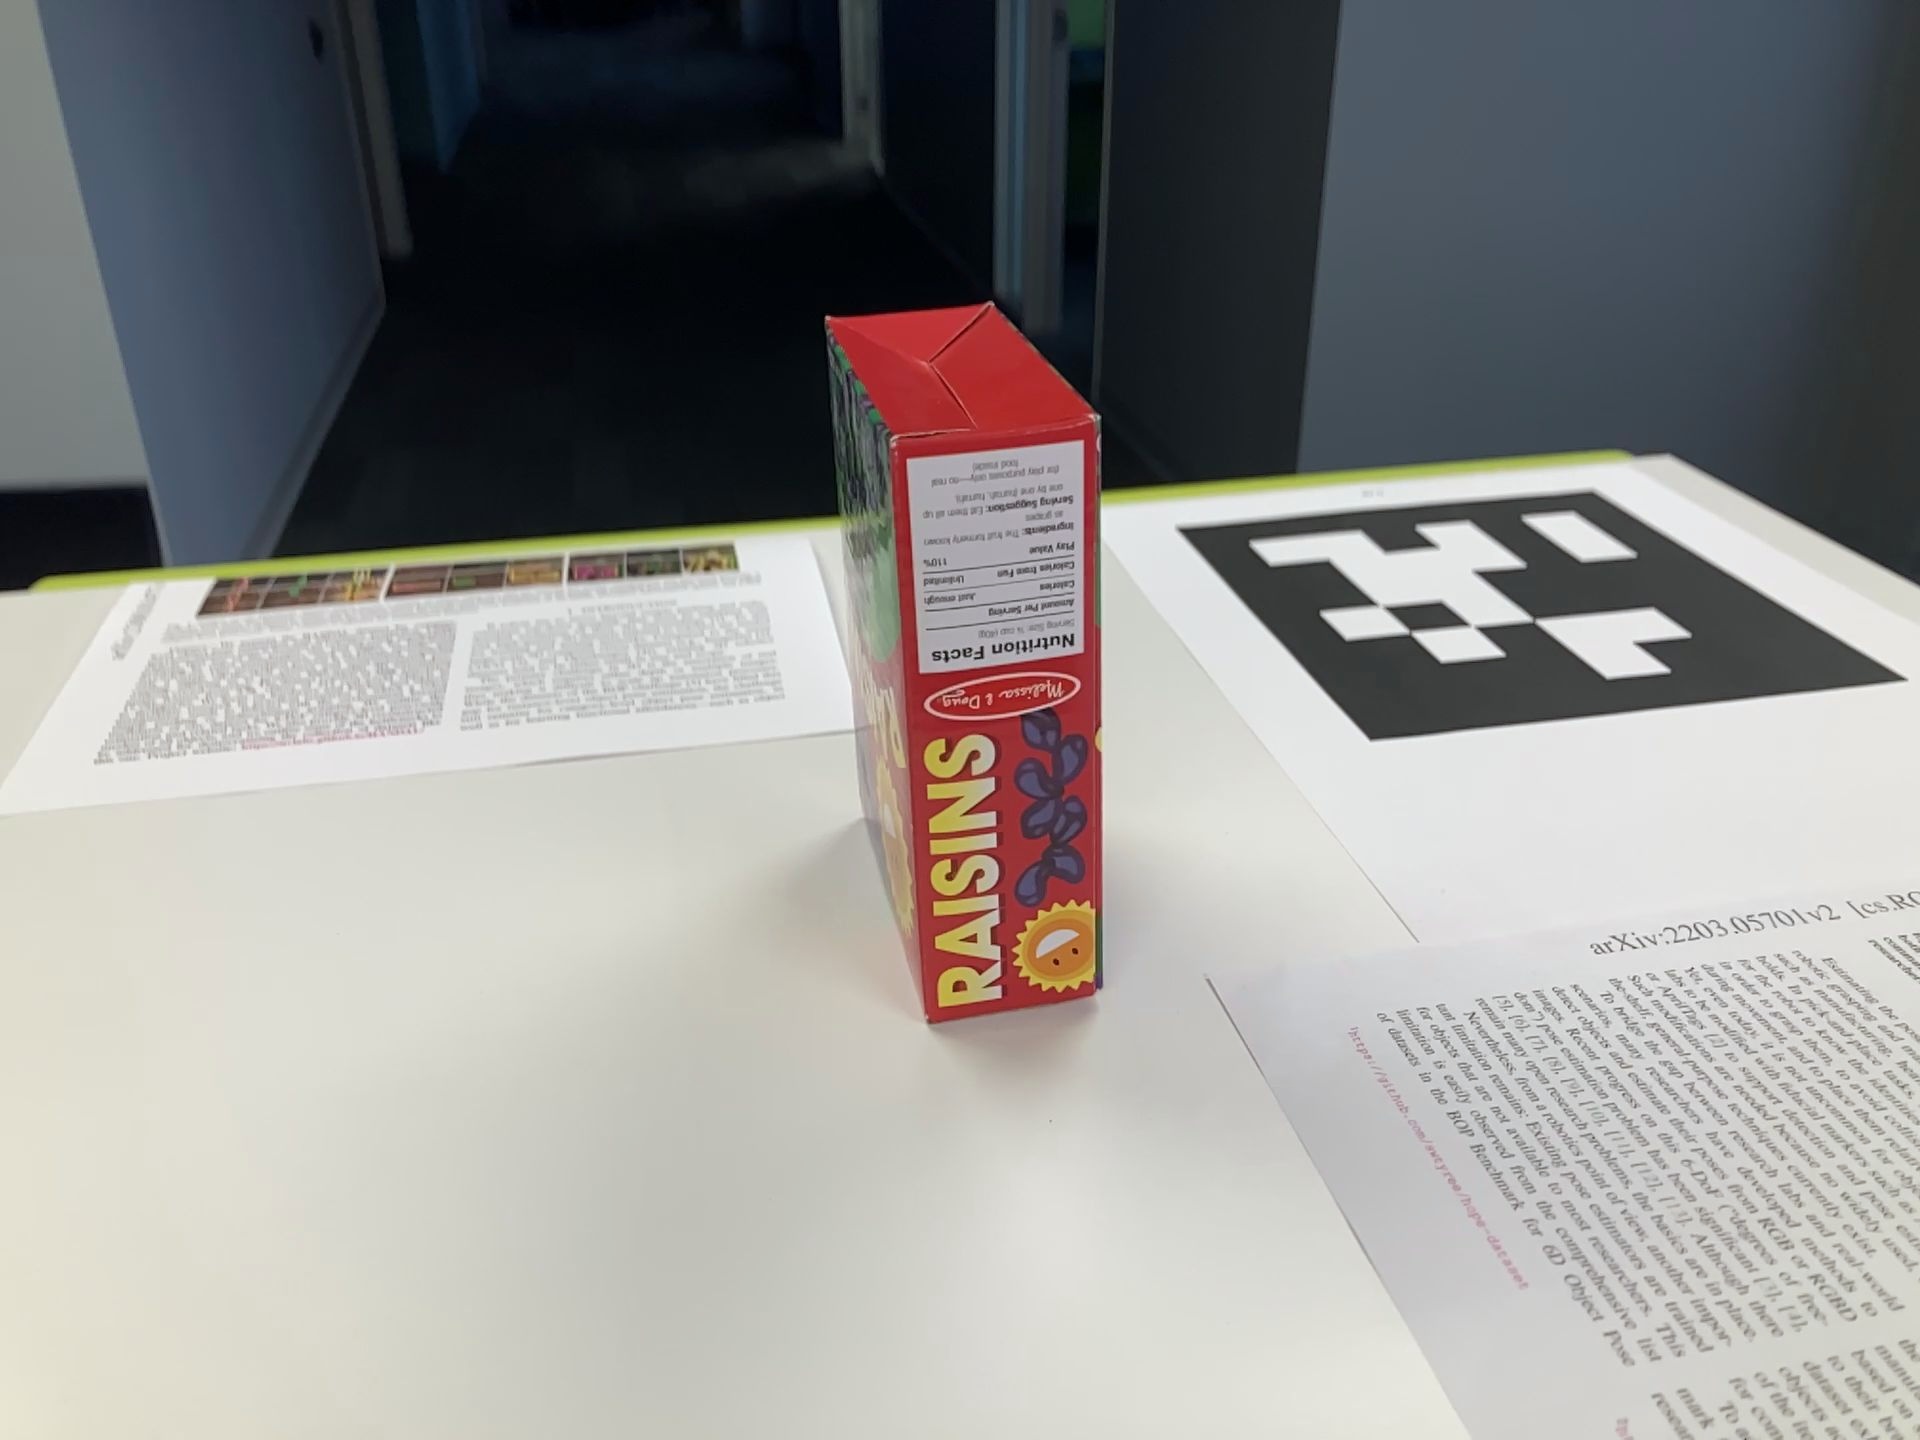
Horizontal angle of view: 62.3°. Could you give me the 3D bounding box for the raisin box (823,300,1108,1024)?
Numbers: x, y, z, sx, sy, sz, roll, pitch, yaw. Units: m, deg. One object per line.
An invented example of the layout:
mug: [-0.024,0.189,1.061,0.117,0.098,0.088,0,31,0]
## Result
raisin box: [0.001,-0.014,0.325,0.040,0.123,0.086,-8,28,-10]
